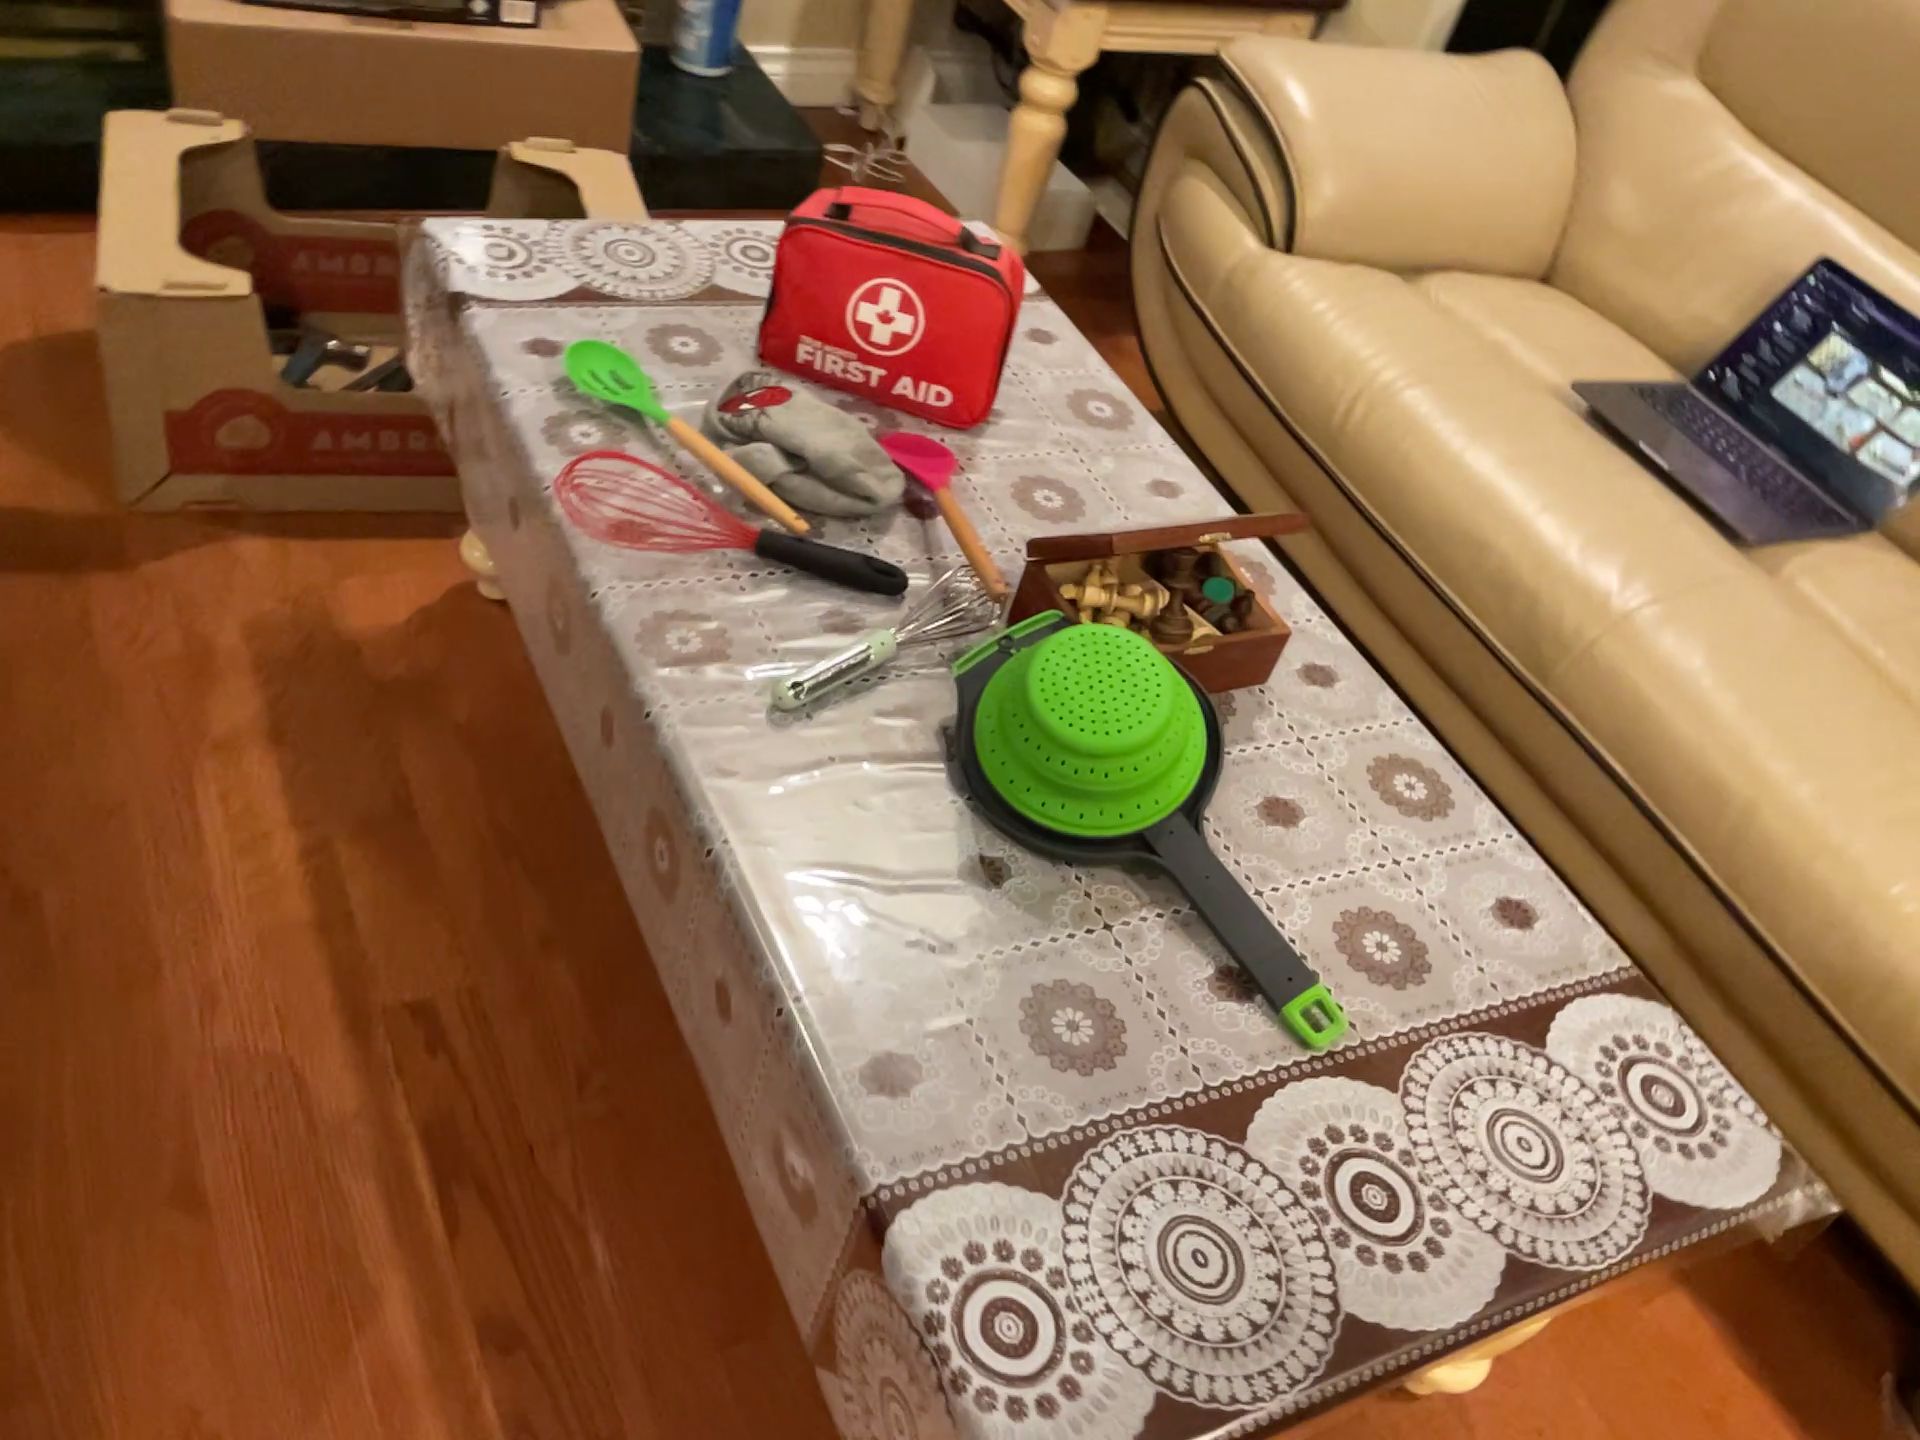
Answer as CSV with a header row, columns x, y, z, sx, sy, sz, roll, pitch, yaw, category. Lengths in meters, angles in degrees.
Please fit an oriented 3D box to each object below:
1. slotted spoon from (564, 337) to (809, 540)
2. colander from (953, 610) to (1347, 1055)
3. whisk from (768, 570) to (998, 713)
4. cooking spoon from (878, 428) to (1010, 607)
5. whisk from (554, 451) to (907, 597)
x,y,z,sx,sy,sz,roll,pitch,yaw,category
-0.236,-0.242,1.373,0.070,0.031,0.314,-27,56,-39,slotted spoon
0.143,0.058,1.126,0.204,0.094,0.397,-29,65,-17,colander
-0.054,-0.059,1.255,0.246,0.059,0.058,-29,18,-38,whisk
-0.010,-0.184,1.375,0.068,0.017,0.319,-1,34,-19,cooking spoon
-0.183,-0.153,1.294,0.295,0.073,0.073,17,35,-12,whisk
